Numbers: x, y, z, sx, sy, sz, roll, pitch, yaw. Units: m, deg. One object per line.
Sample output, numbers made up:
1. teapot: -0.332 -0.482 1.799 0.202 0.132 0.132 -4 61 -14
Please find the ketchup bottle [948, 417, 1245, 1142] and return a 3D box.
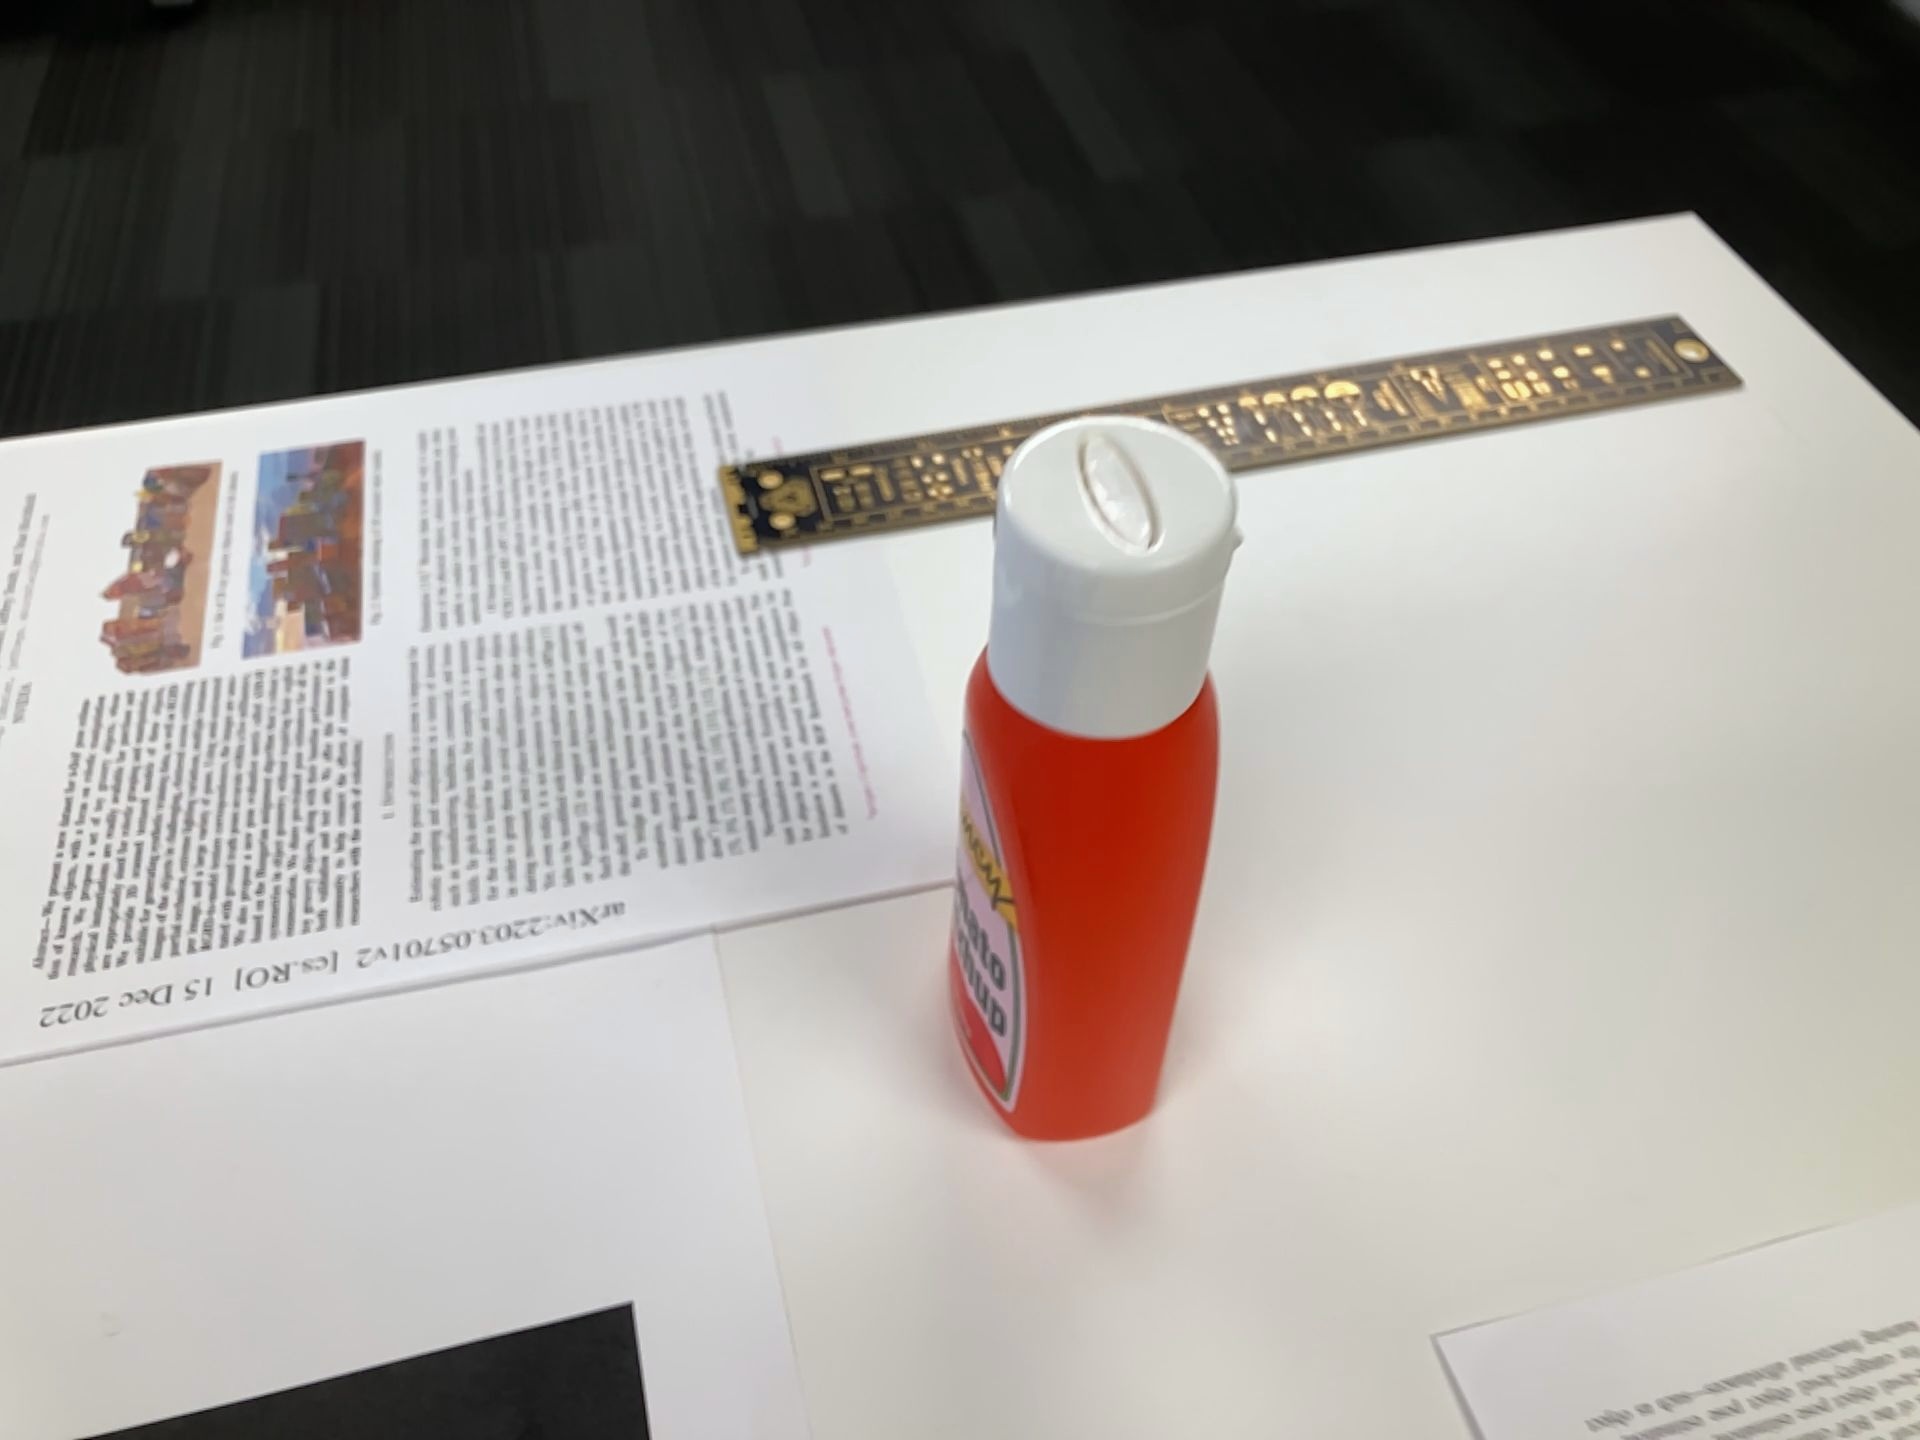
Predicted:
1. ketchup bottle: 0.022 0.015 0.293 0.043 0.149 0.065 -8 48 -10
